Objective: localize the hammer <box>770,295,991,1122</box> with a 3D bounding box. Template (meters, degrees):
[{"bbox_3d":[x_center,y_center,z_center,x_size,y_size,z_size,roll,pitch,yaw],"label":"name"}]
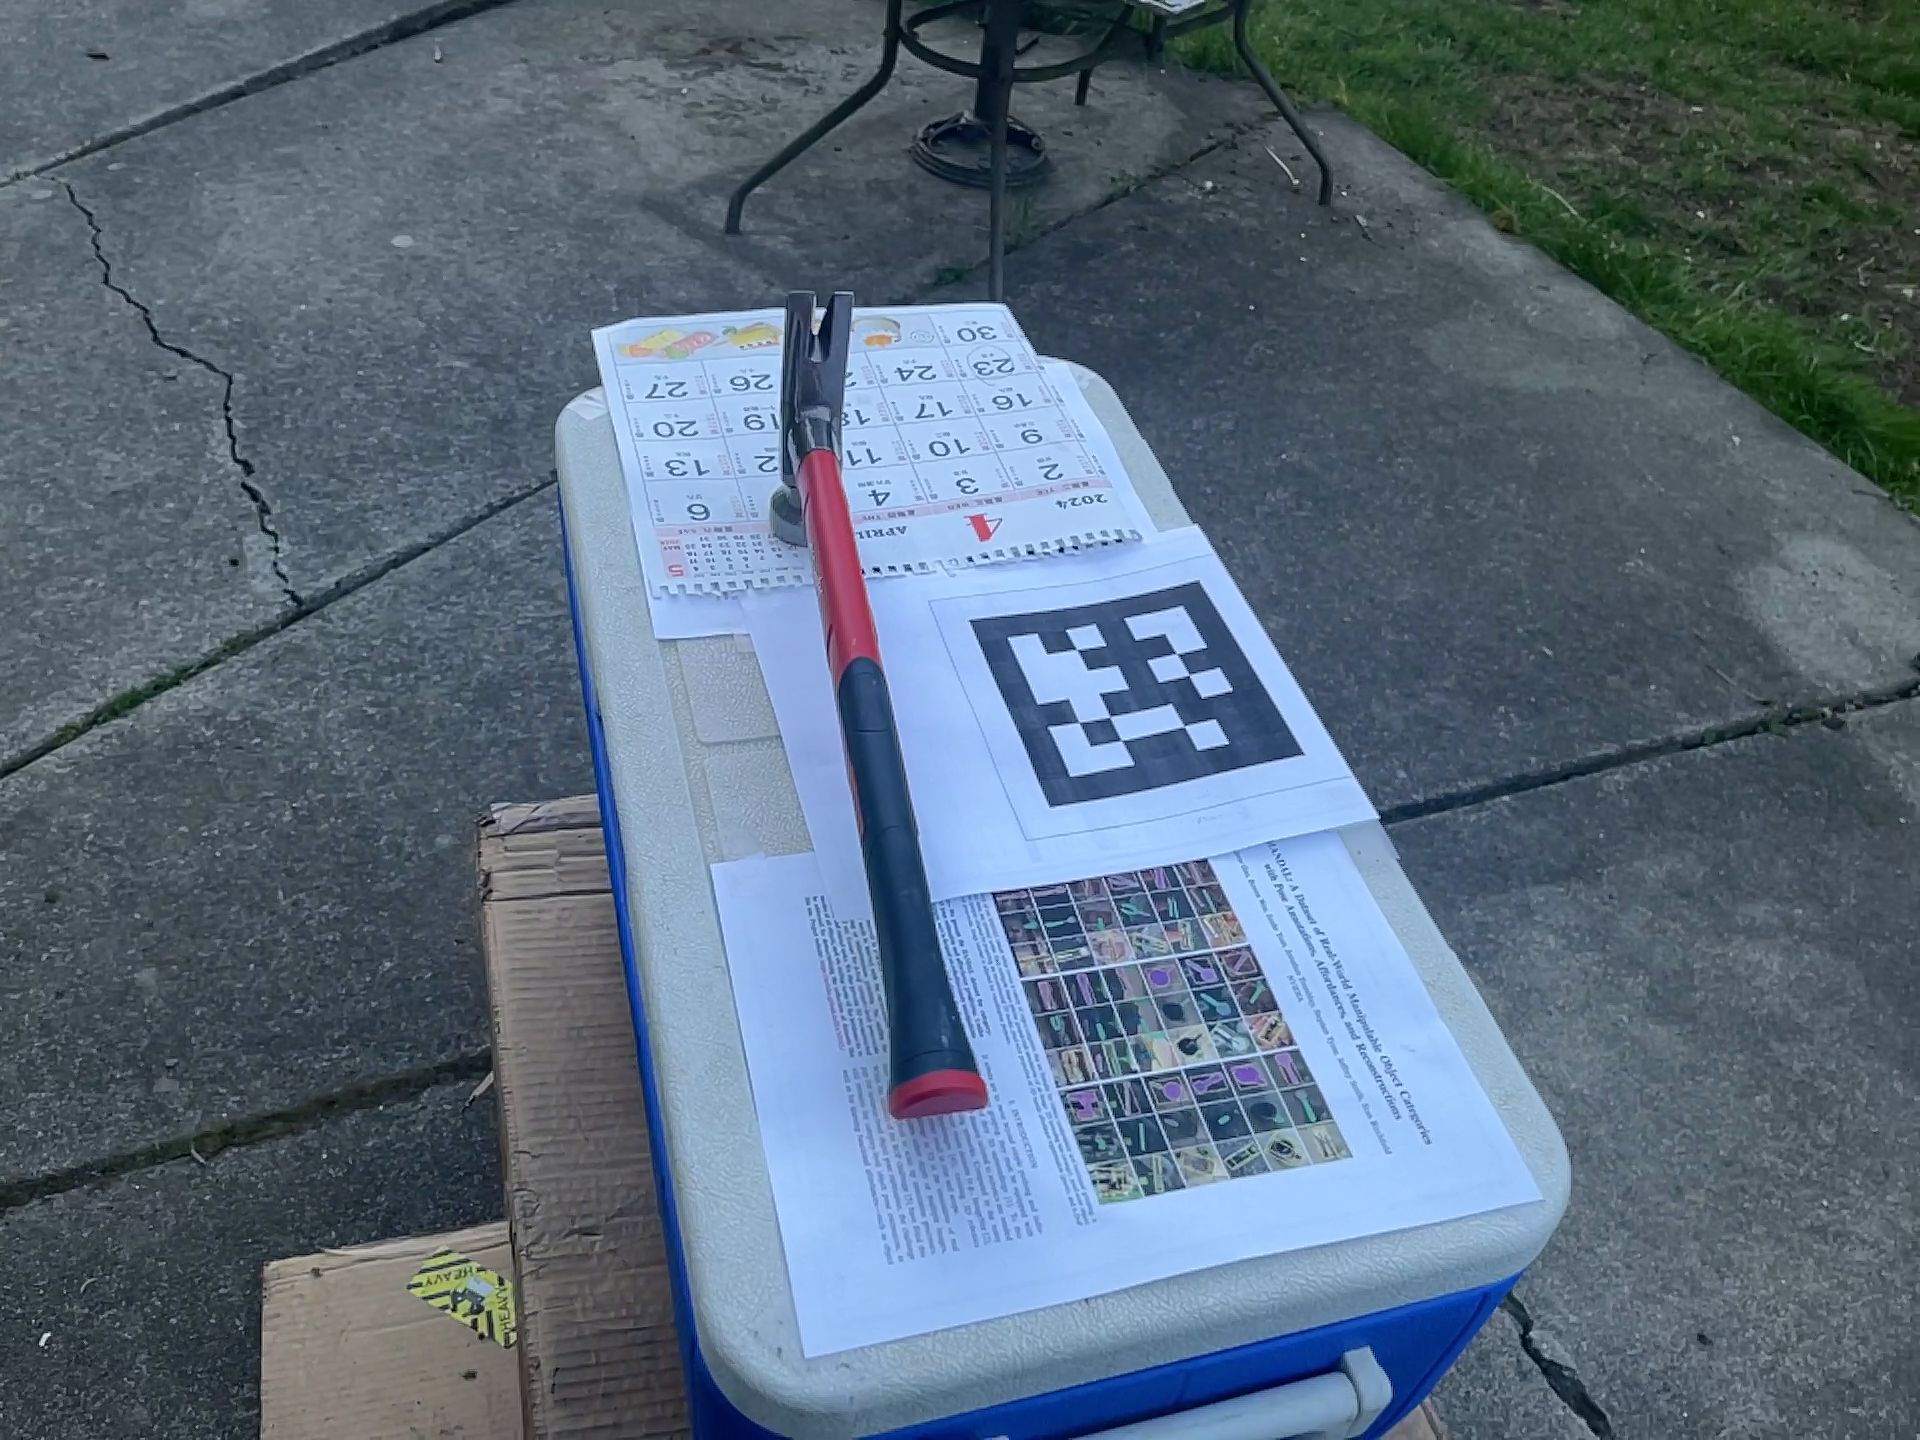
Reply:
[{"bbox_3d":[-0.040,-0.017,0.658,0.038,0.143,0.387,-4,50,-13],"label":"hammer"}]
